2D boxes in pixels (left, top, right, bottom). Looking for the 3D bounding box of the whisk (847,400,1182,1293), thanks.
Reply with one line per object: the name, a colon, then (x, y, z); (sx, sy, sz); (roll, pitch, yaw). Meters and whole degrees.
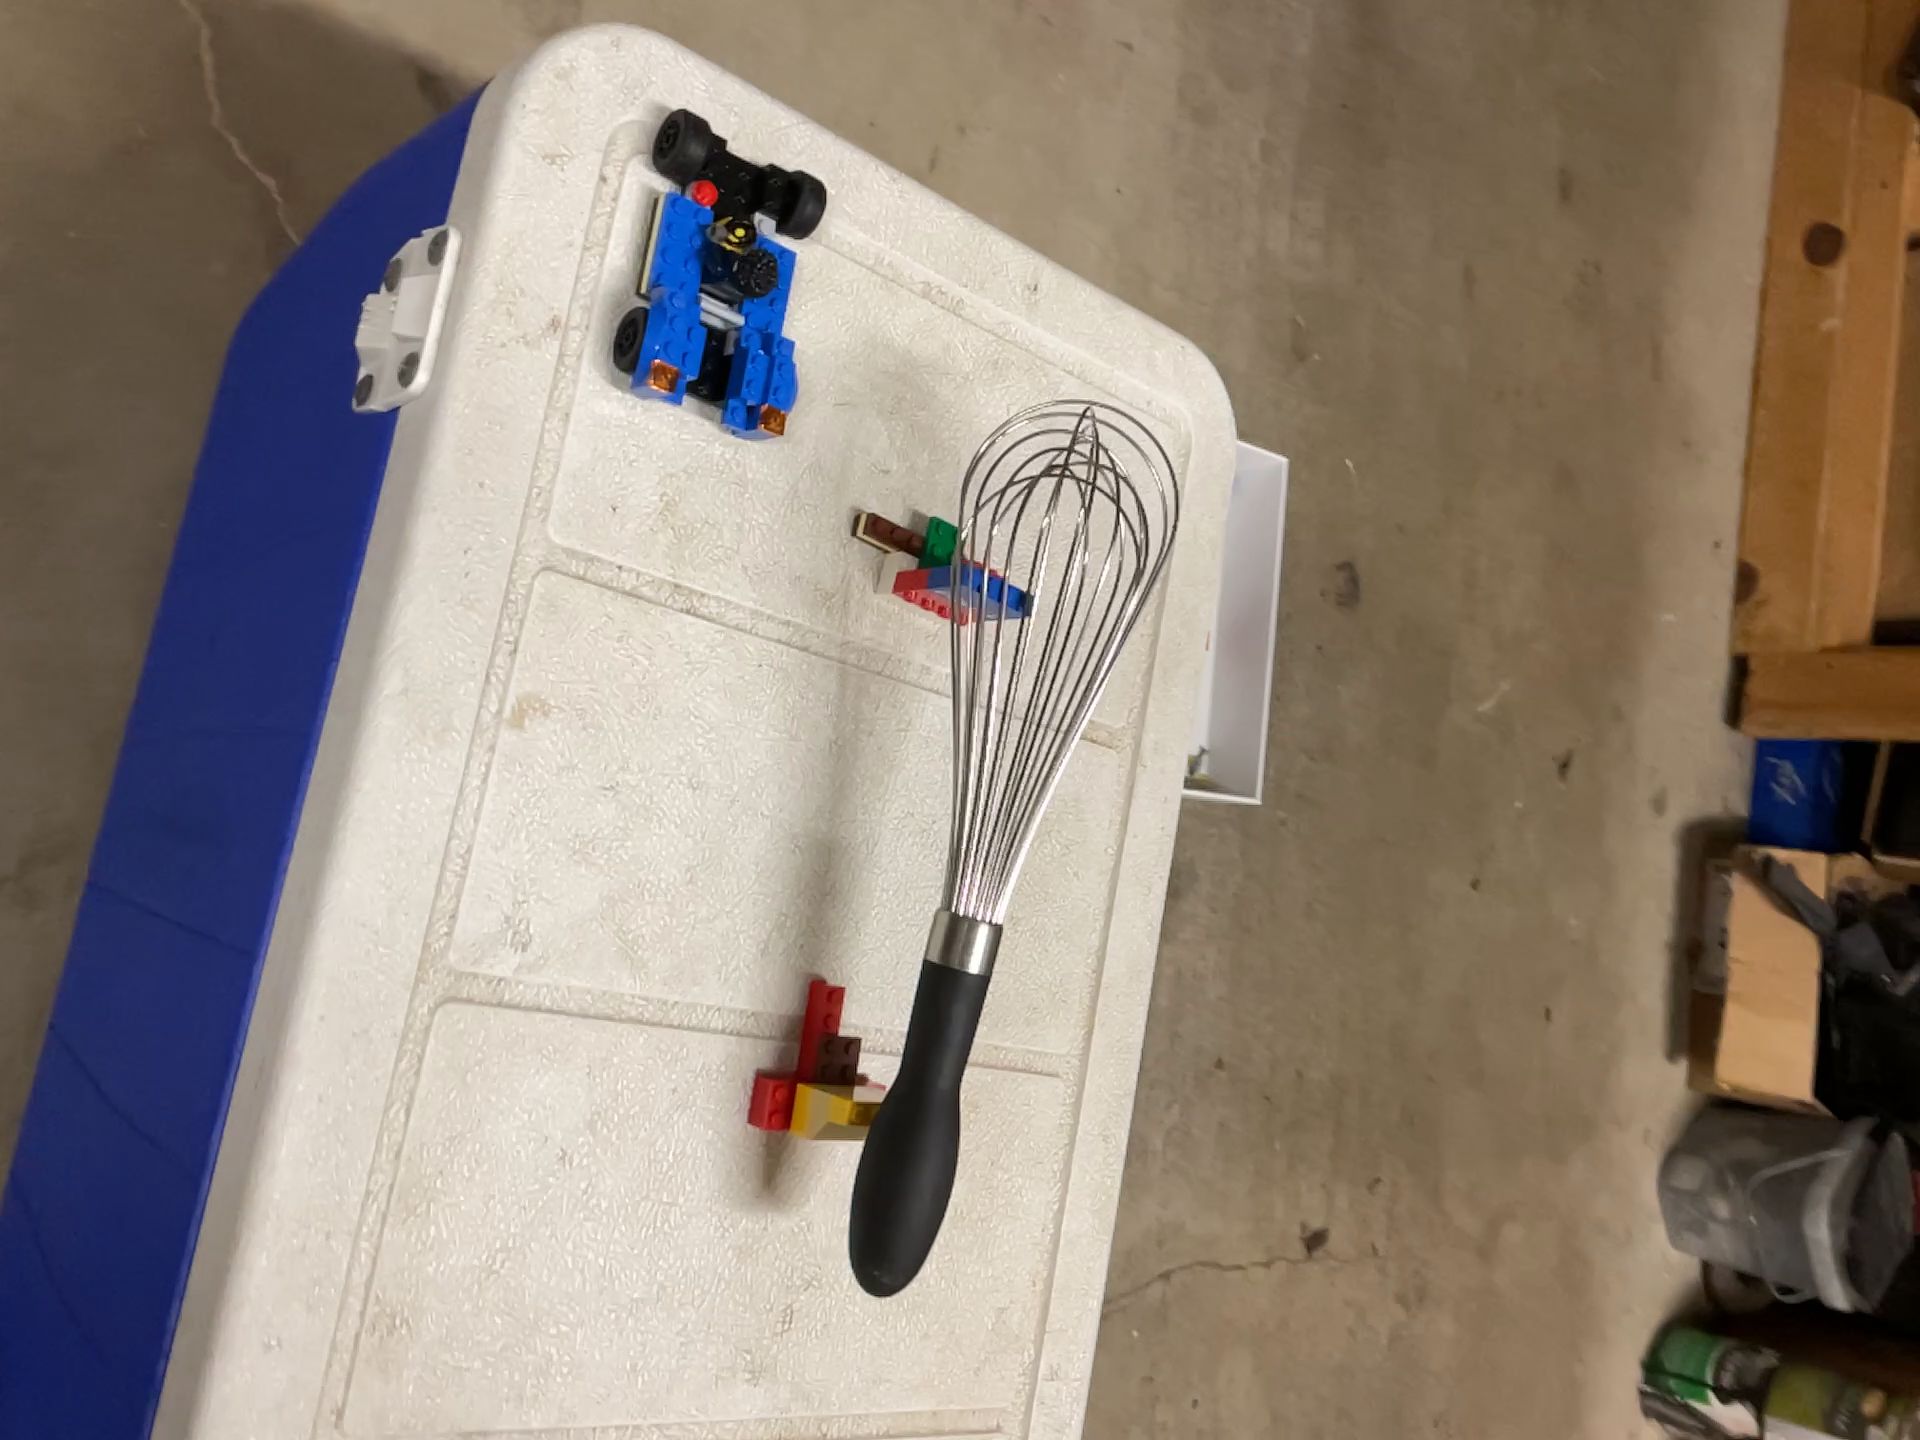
whisk: (0.010, 0.038, 0.499); (0.070, 0.070, 0.284); (16, 86, -44)
